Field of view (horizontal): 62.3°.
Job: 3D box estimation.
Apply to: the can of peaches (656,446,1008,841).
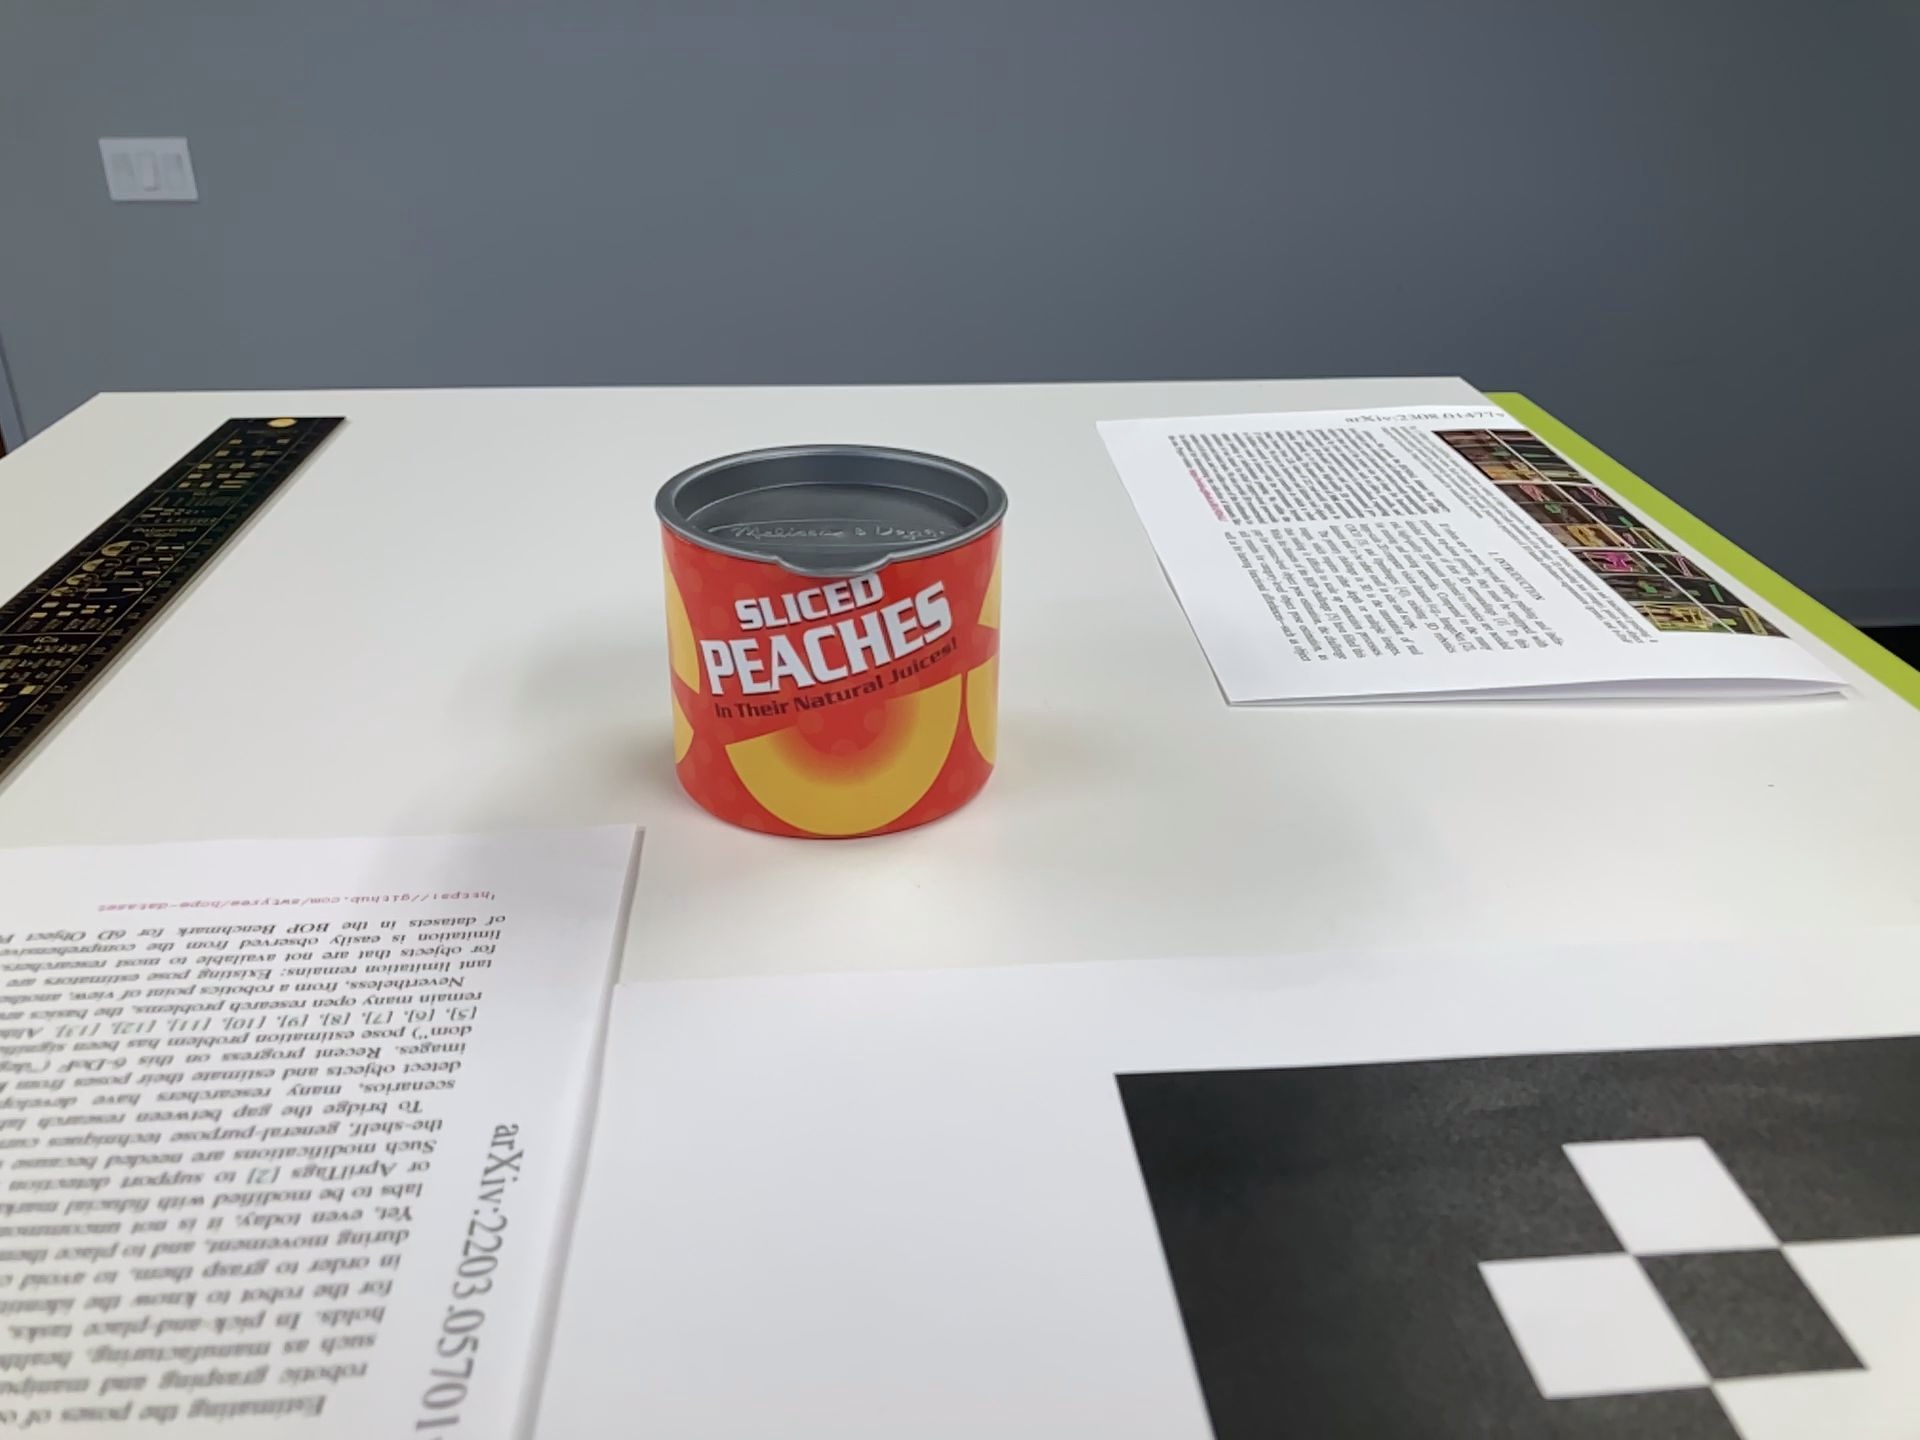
[{"bbox_3d":[-0.025,-0.016,0.310,0.071,0.058,0.071,1,27,-1],"label":"can of peaches"}]
